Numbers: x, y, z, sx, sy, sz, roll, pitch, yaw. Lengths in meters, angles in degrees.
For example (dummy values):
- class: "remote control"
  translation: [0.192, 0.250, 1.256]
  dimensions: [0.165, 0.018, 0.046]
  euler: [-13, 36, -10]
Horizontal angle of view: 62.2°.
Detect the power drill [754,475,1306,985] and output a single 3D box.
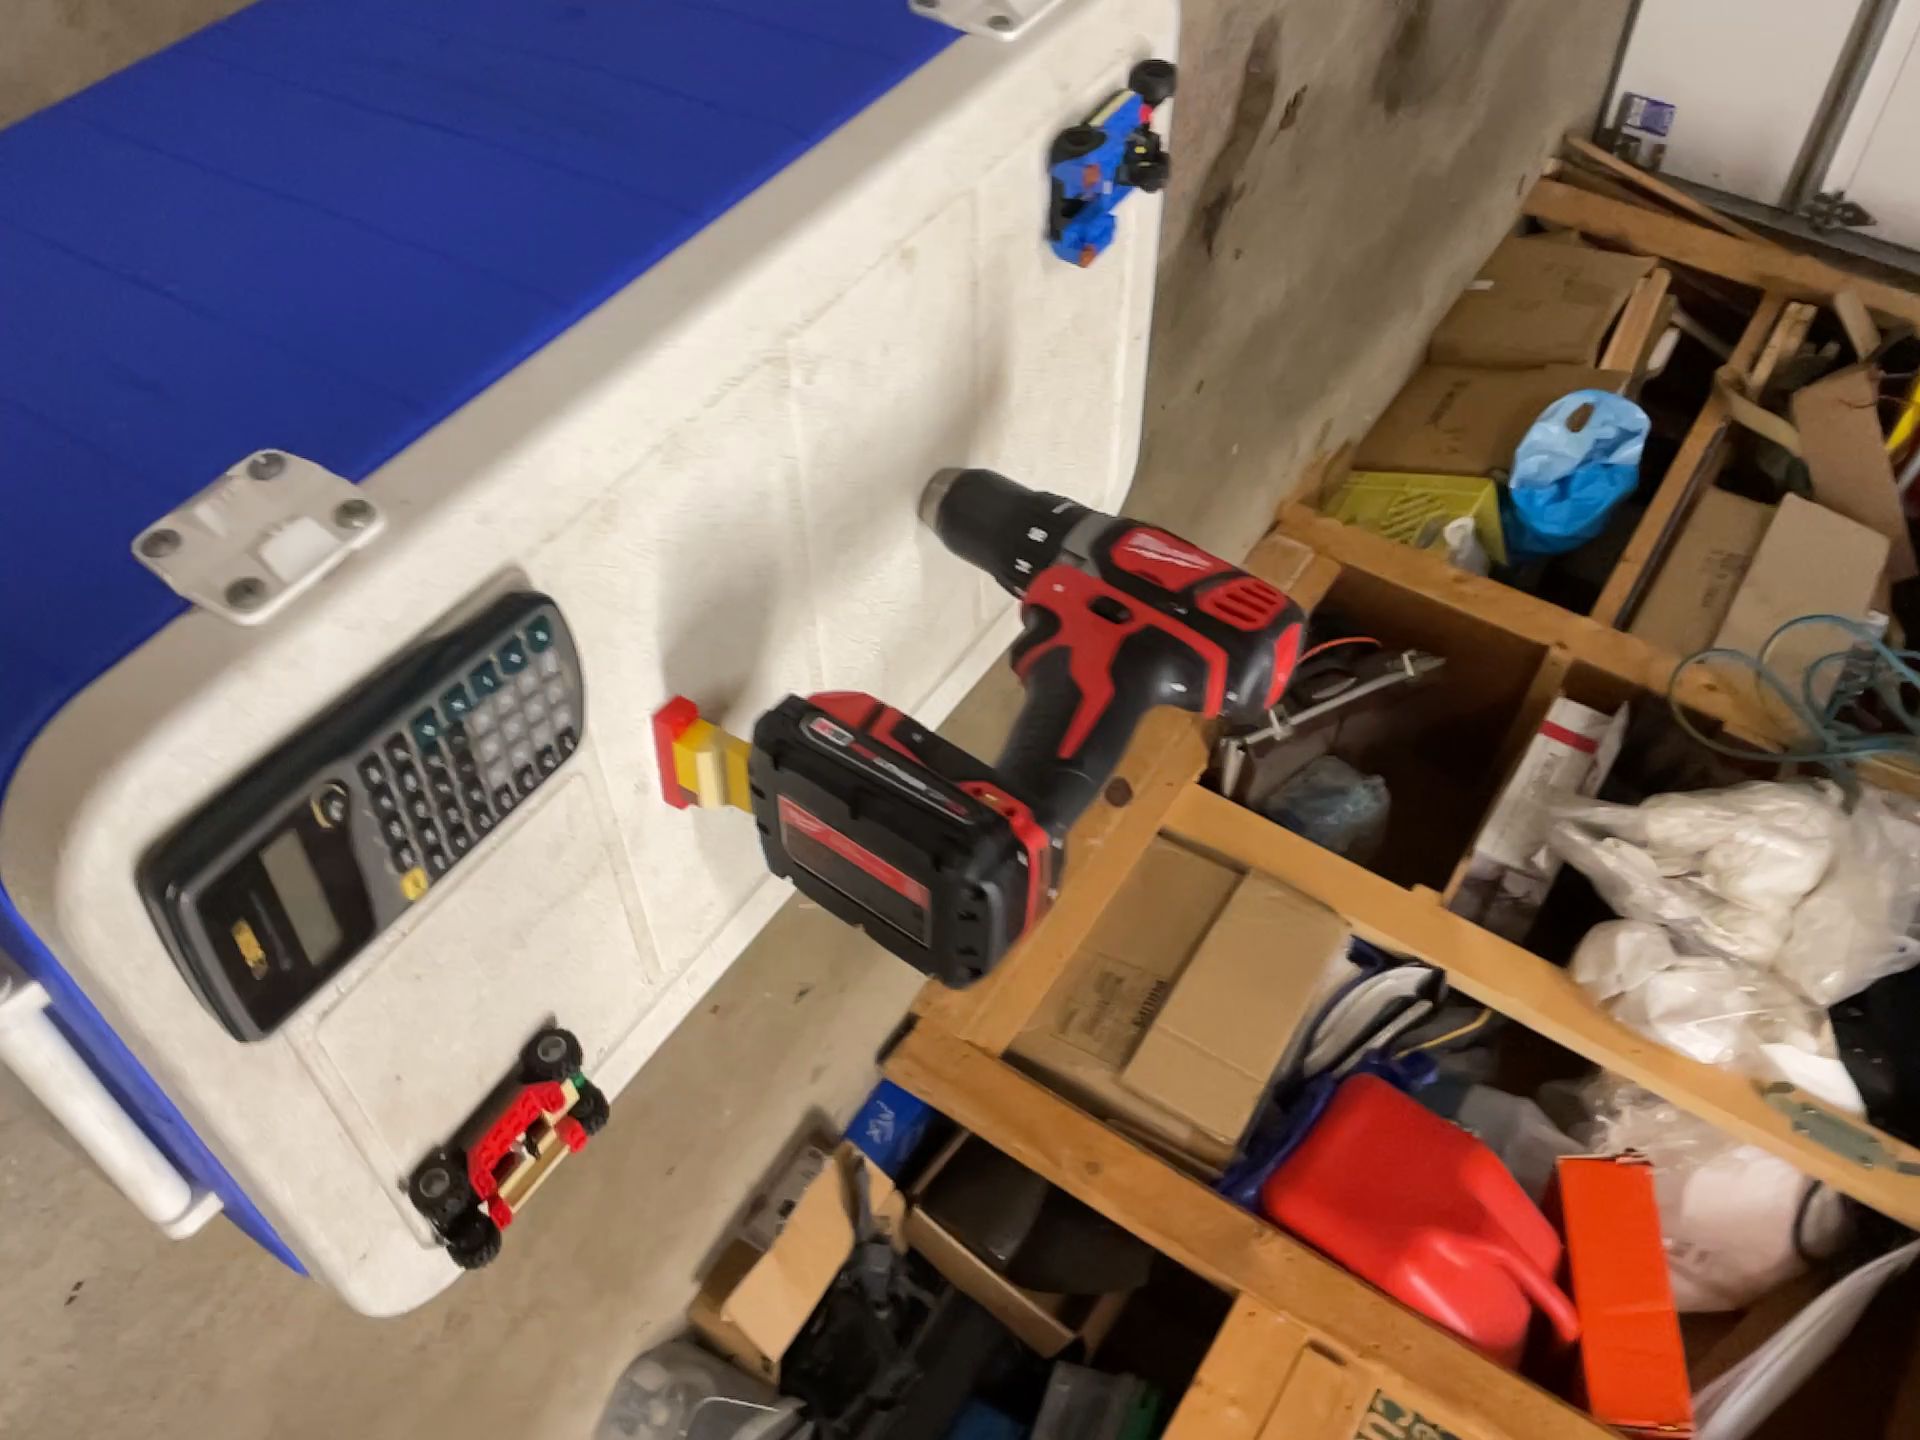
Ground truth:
- class: "power drill"
  translation: [0.014, -0.018, 0.668]
  dimensions: [0.227, 0.188, 0.080]
  euler: [-42, 149, -34]
